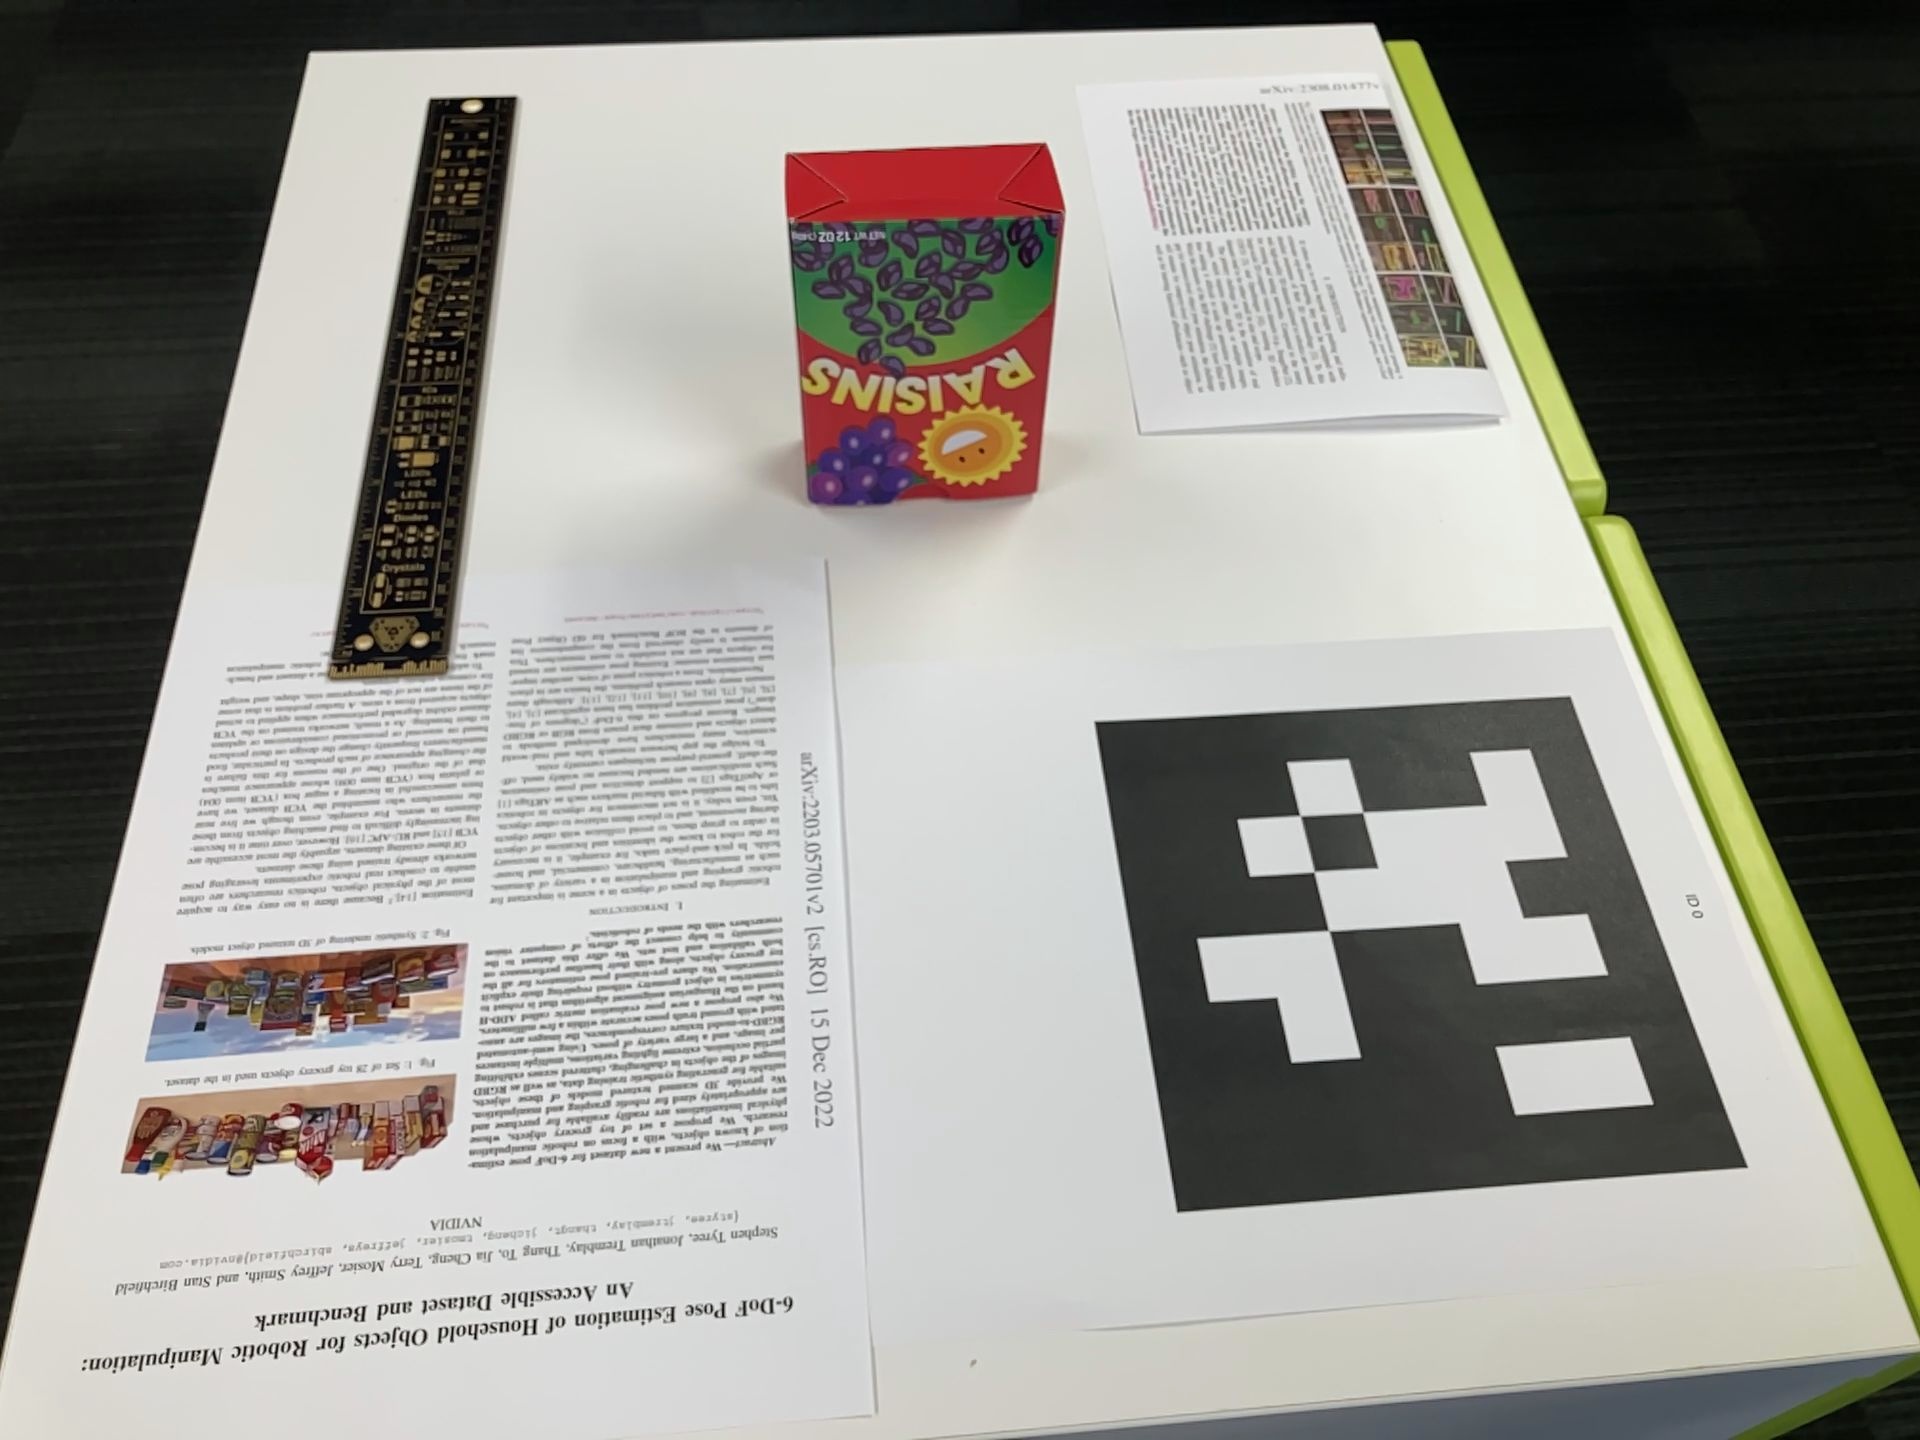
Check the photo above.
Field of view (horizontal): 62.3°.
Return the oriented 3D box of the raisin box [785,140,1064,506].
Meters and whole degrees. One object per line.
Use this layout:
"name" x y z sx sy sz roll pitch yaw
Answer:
"raisin box" -0.013 -0.129 0.536 0.086 0.123 0.040 -4 54 -5
